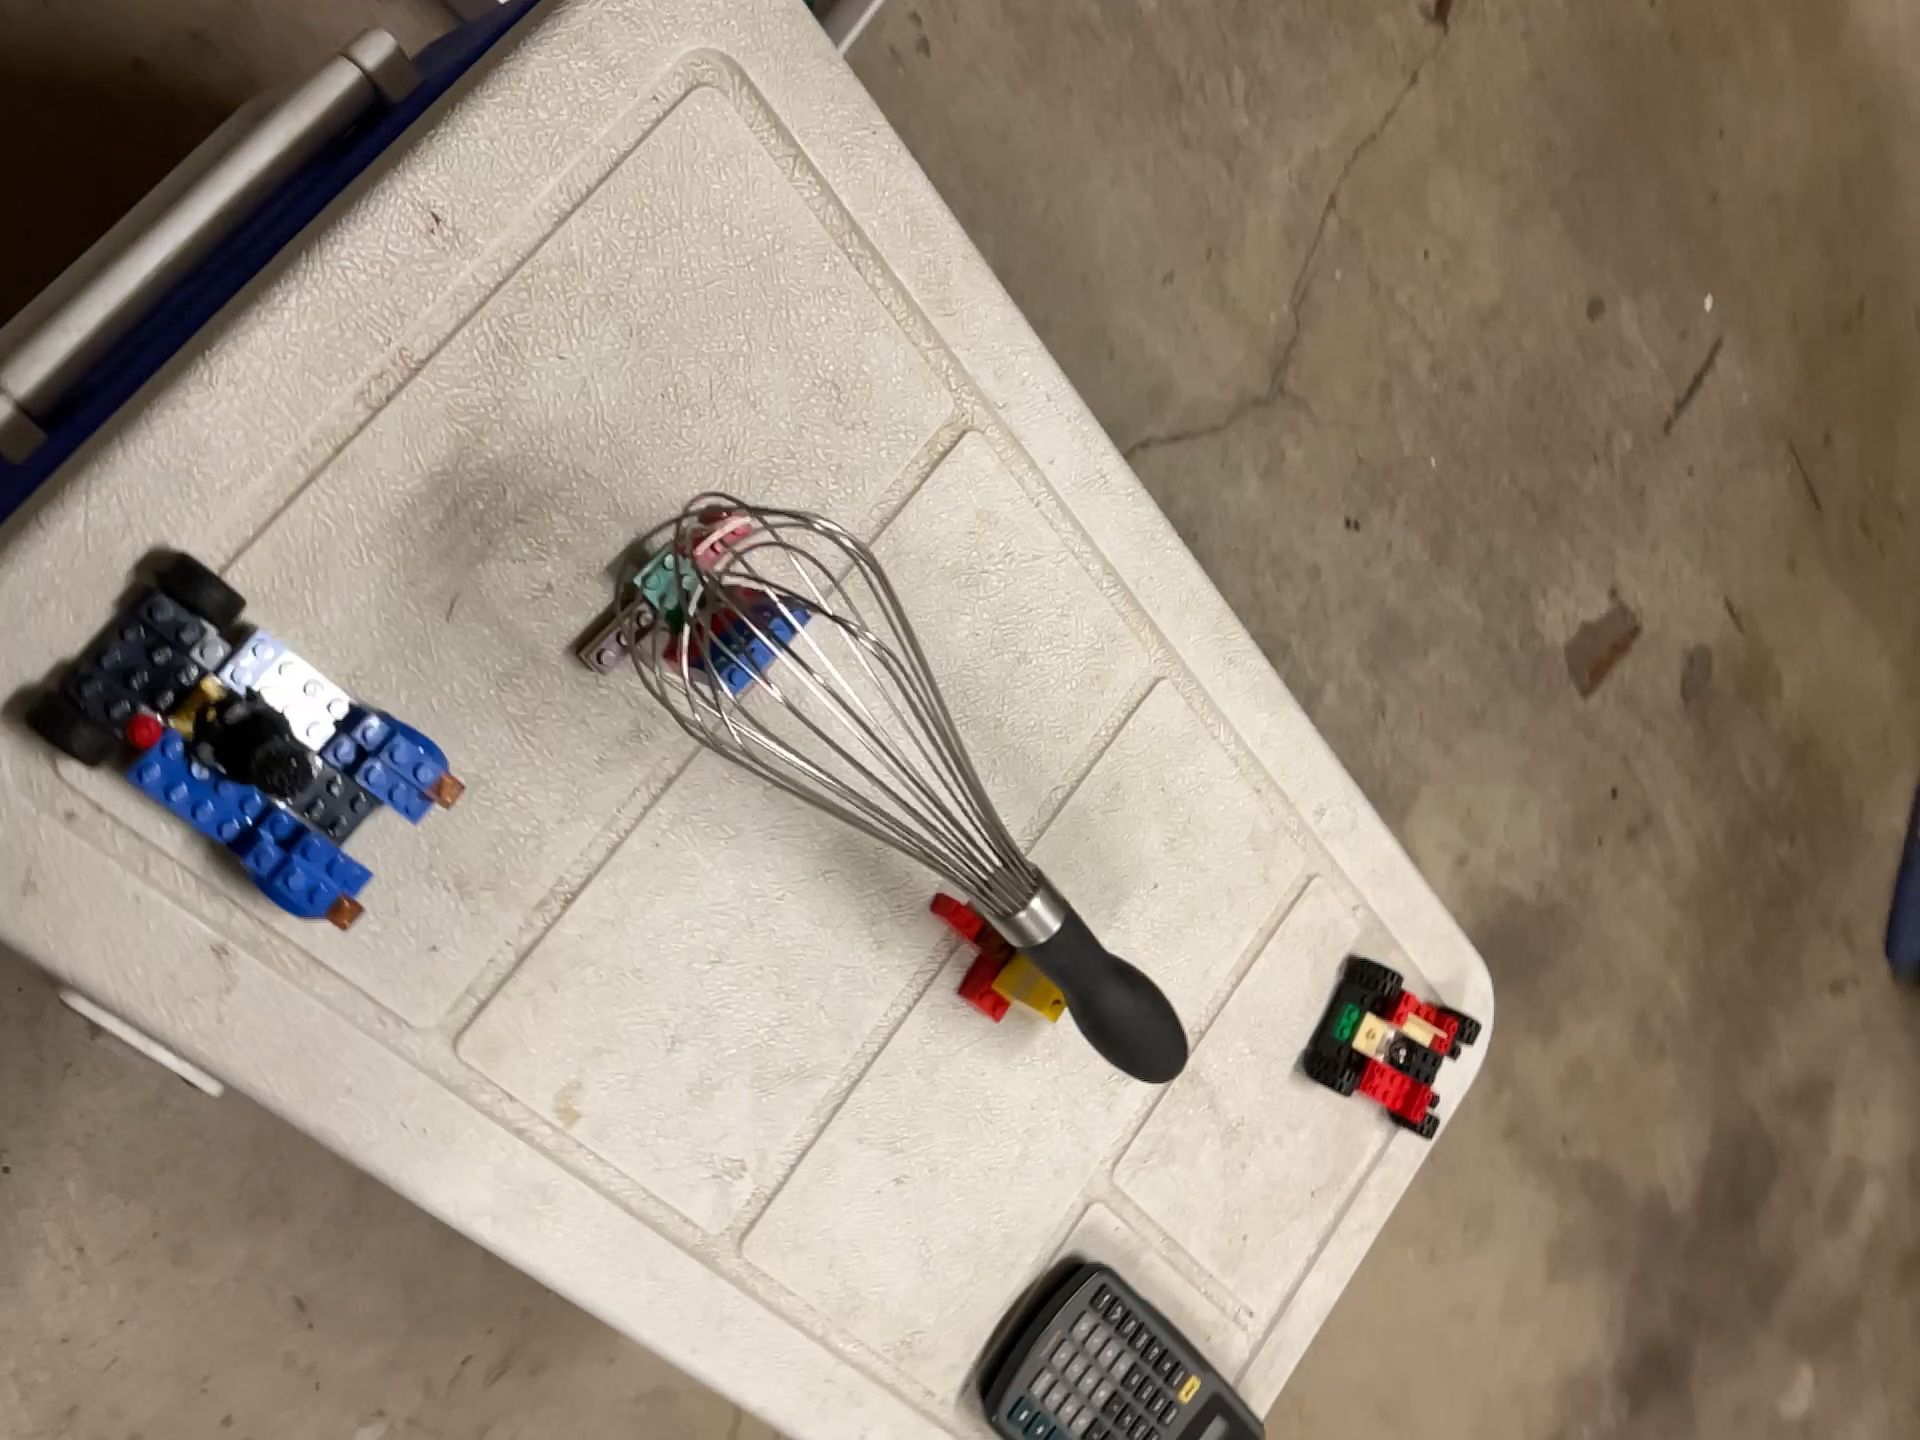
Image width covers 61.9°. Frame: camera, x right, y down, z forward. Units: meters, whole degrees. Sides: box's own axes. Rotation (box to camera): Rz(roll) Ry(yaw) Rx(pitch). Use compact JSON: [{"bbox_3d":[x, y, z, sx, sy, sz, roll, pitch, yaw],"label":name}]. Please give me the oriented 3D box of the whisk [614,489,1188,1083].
[{"bbox_3d":[0.003,0.036,0.470,0.070,0.070,0.284,-56,132,-18],"label":"whisk"}]
